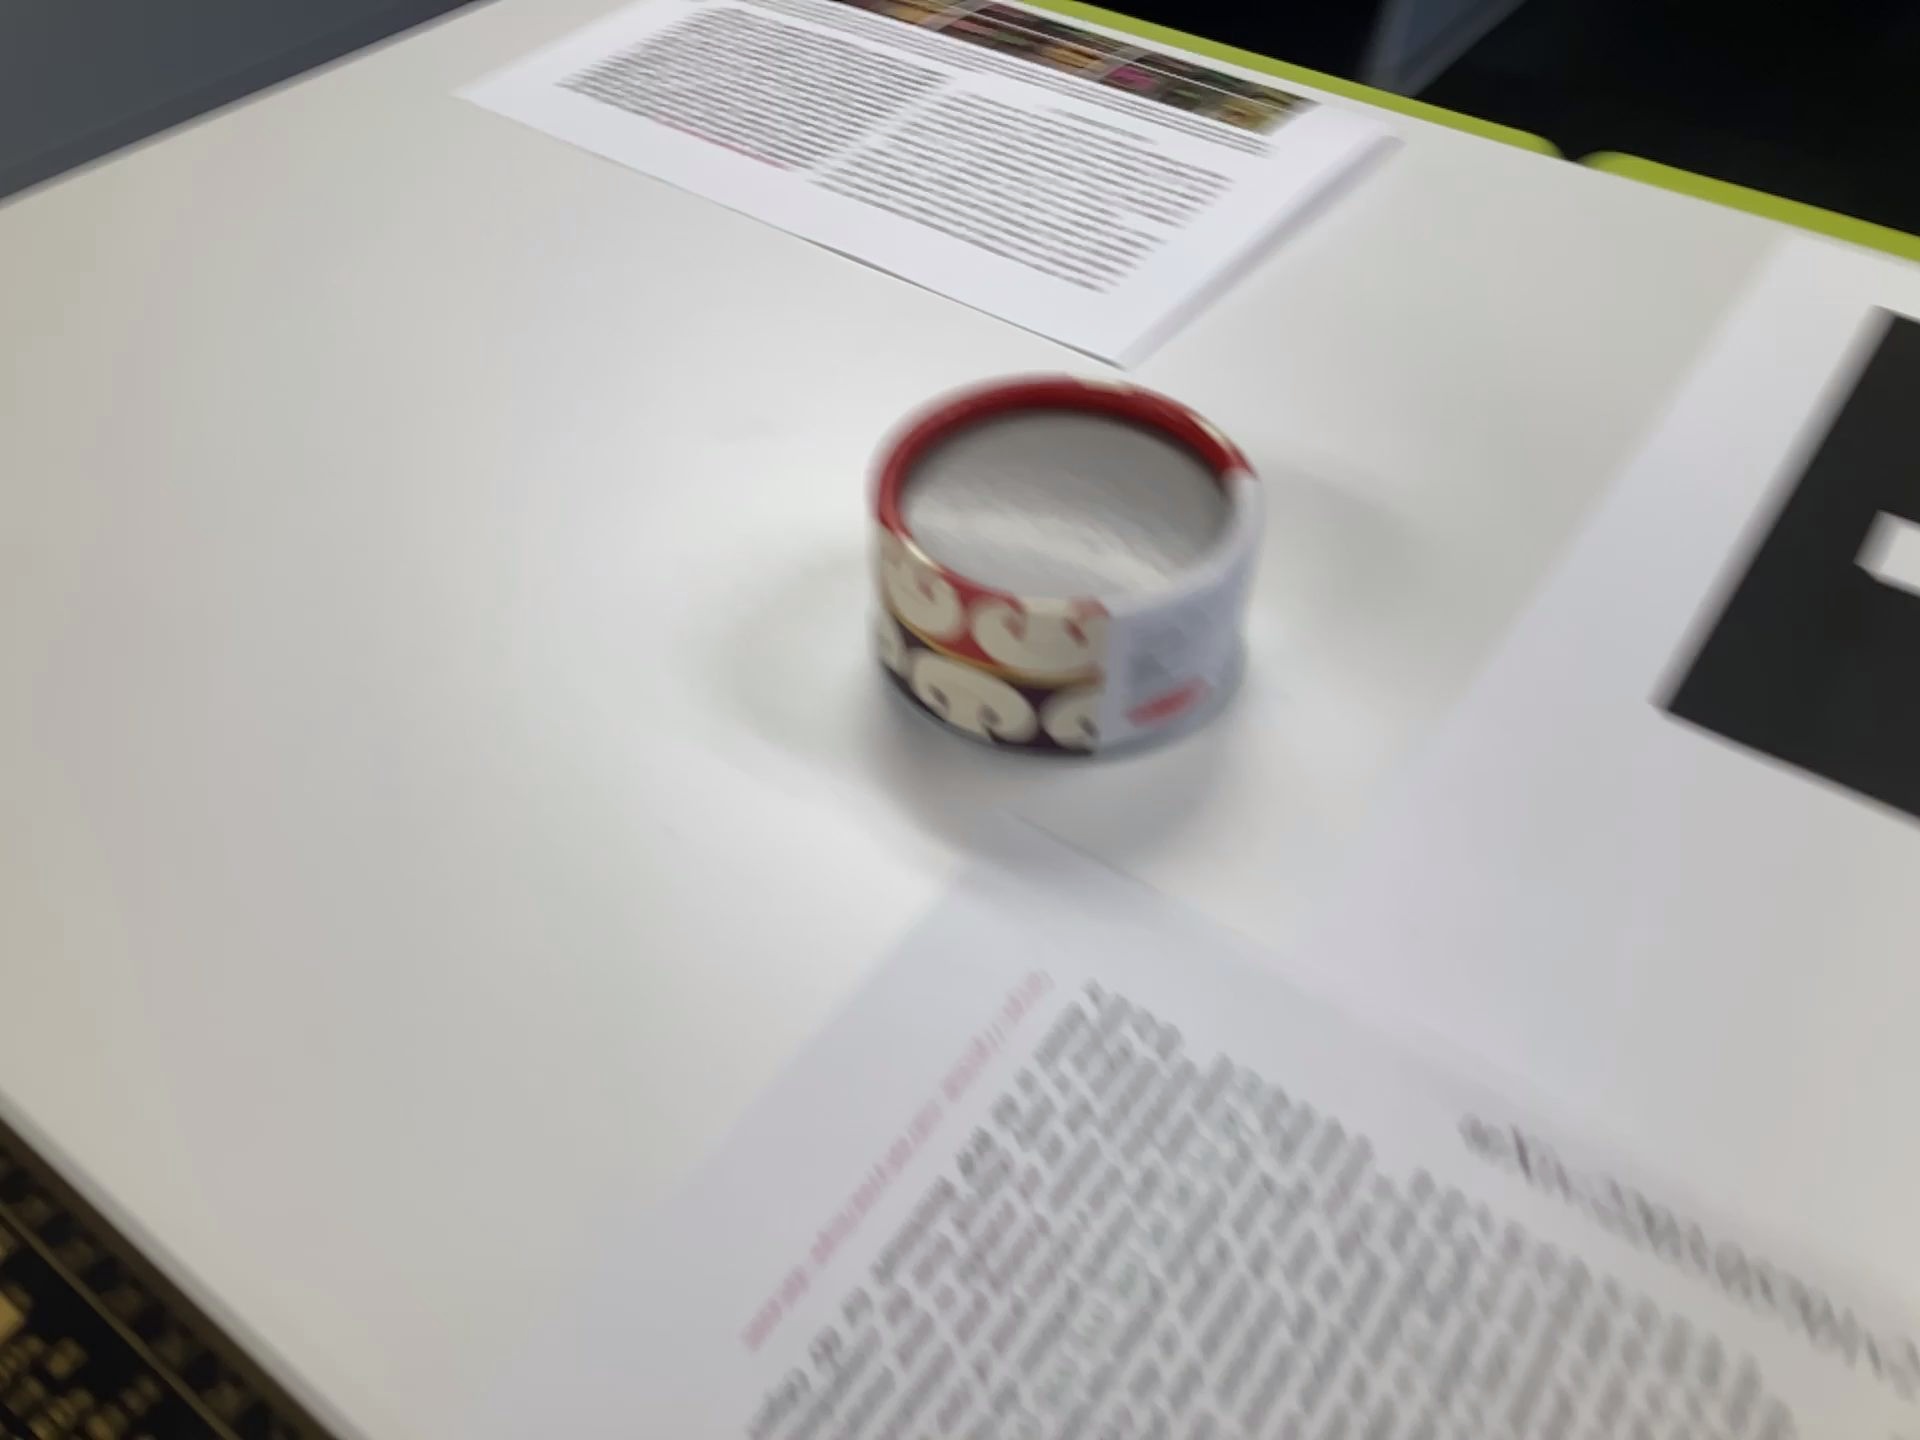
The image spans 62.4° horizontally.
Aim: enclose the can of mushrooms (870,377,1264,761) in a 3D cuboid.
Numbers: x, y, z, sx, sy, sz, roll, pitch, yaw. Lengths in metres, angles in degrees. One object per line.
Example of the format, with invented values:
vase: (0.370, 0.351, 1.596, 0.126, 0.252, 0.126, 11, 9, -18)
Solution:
can of mushrooms: (0.016, -0.029, 0.273, 0.071, 0.033, 0.071, 0, 46, 0)
